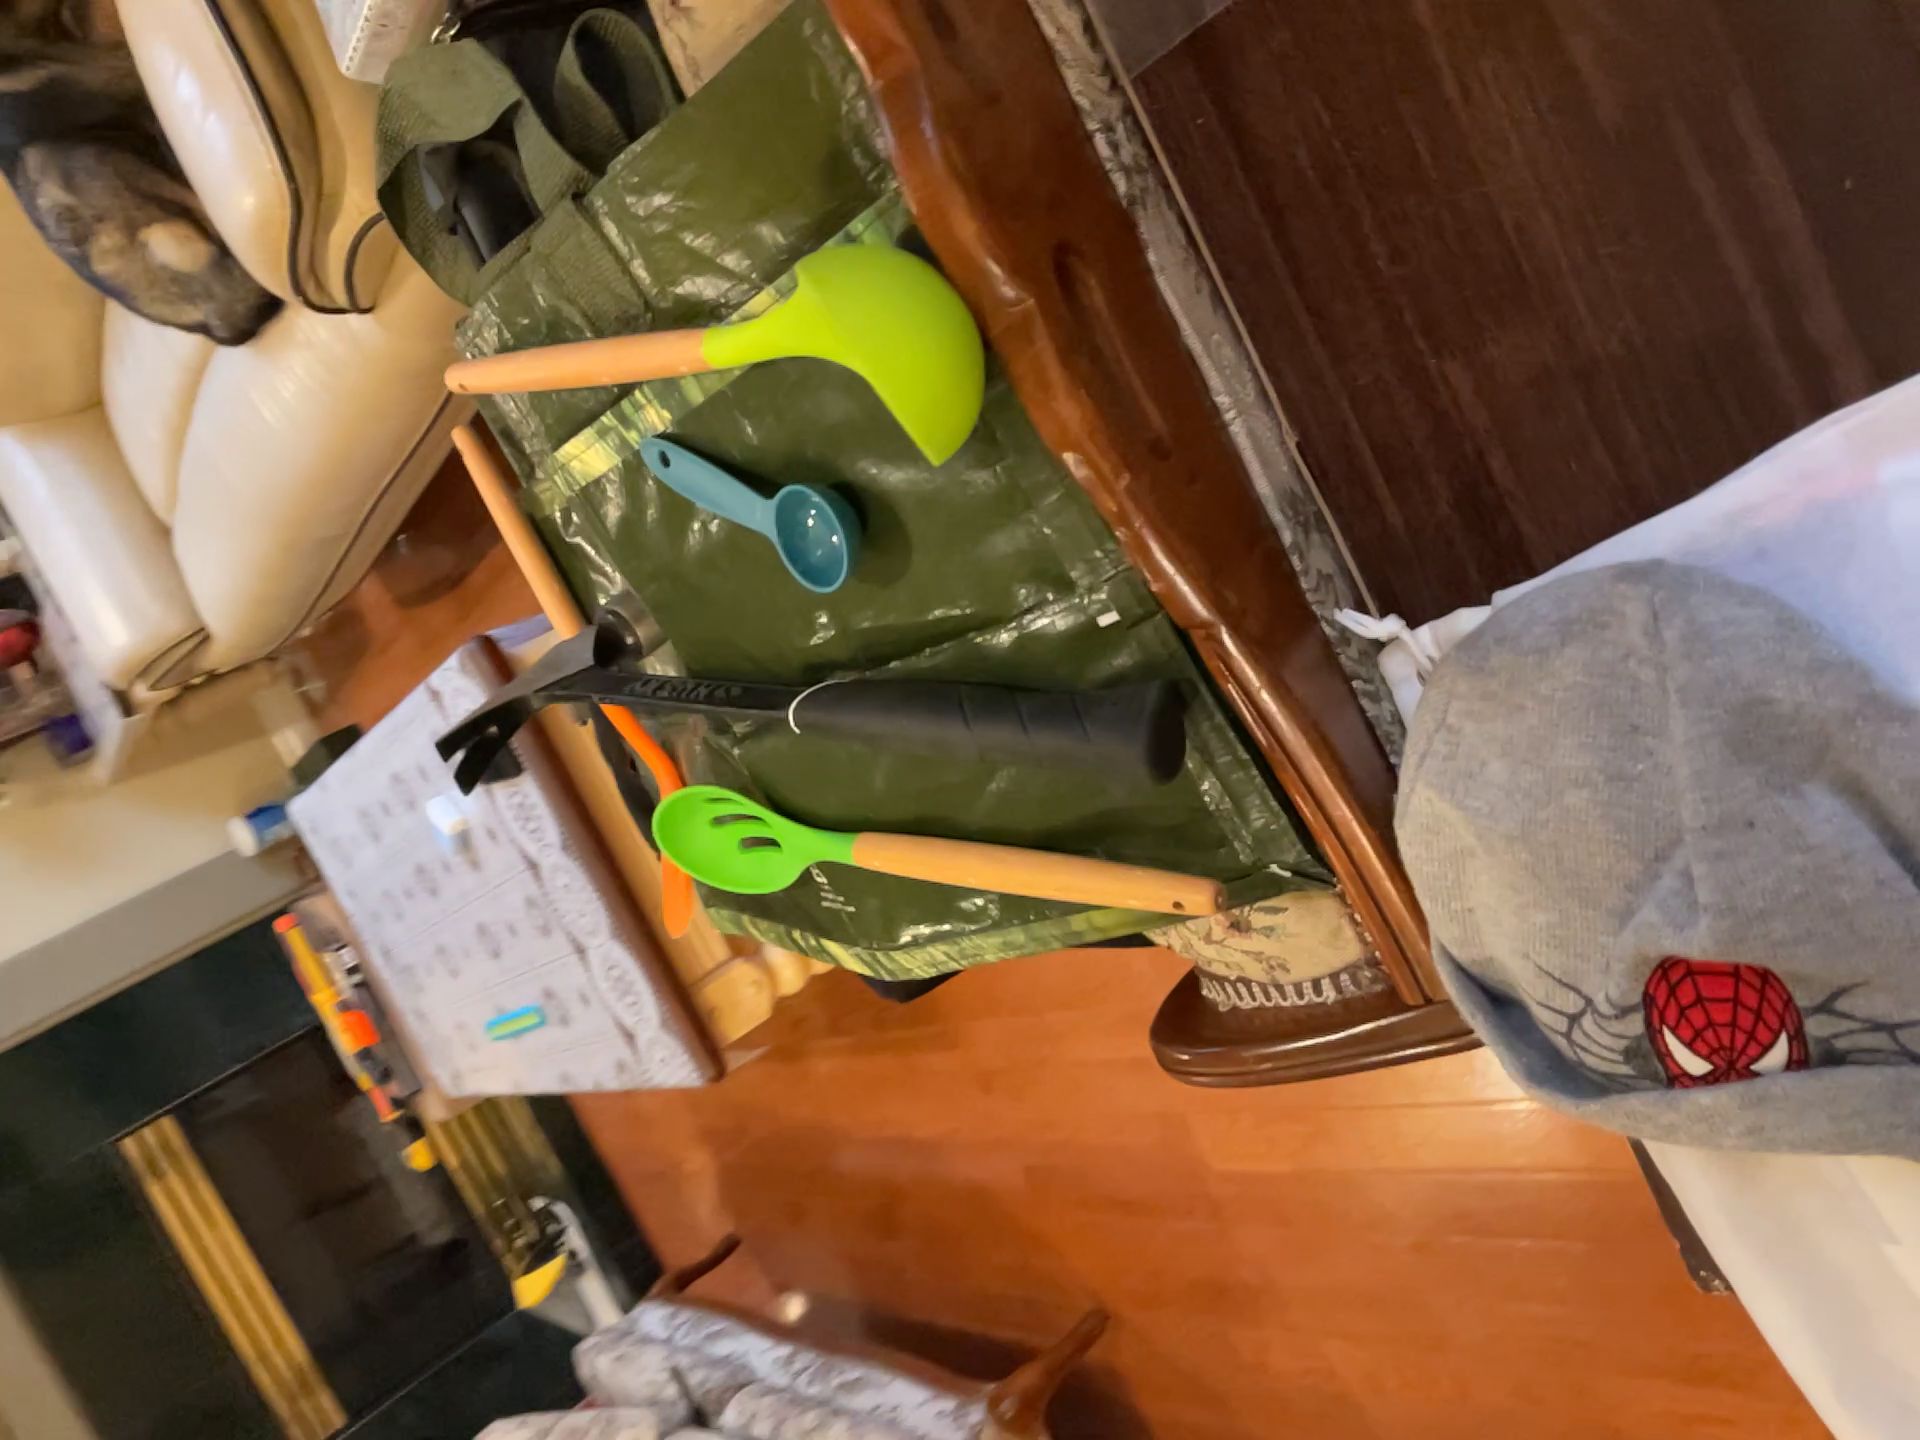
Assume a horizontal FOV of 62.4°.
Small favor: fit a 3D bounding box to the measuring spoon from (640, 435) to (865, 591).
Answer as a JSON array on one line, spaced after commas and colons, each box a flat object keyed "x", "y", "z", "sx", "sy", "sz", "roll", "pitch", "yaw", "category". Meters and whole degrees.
[{"x": -0.080, "y": -0.090, "z": 0.621, "sx": 0.129, "sy": 0.021, "sz": 0.042, "roll": 31, "pitch": 134, "yaw": 35, "category": "measuring spoon"}]

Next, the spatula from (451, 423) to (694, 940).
[{"x": -0.219, "y": -0.028, "z": 0.907, "sx": 0.322, "sy": 0.041, "sz": 0.081, "roll": 60, "pitch": 154, "yaw": 6, "category": "spatula"}]

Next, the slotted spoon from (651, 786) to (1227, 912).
[{"x": -0.022, "y": 0.059, "z": 0.681, "sx": 0.314, "sy": 0.031, "sz": 0.070, "roll": 2, "pitch": 132, "yaw": 42, "category": "slotted spoon"}]

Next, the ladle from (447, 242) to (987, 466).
[{"x": -0.114, "y": -0.130, "z": 0.600, "sx": 0.320, "sy": 0.062, "sz": 0.078, "roll": 7, "pitch": 145, "yaw": 43, "category": "ladle"}]

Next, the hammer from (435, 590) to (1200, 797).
[{"x": -0.073, "y": -0.005, "z": 0.674, "sx": 0.409, "sy": 0.149, "sz": 0.036, "roll": 5, "pitch": 128, "yaw": 43, "category": "hammer"}]
